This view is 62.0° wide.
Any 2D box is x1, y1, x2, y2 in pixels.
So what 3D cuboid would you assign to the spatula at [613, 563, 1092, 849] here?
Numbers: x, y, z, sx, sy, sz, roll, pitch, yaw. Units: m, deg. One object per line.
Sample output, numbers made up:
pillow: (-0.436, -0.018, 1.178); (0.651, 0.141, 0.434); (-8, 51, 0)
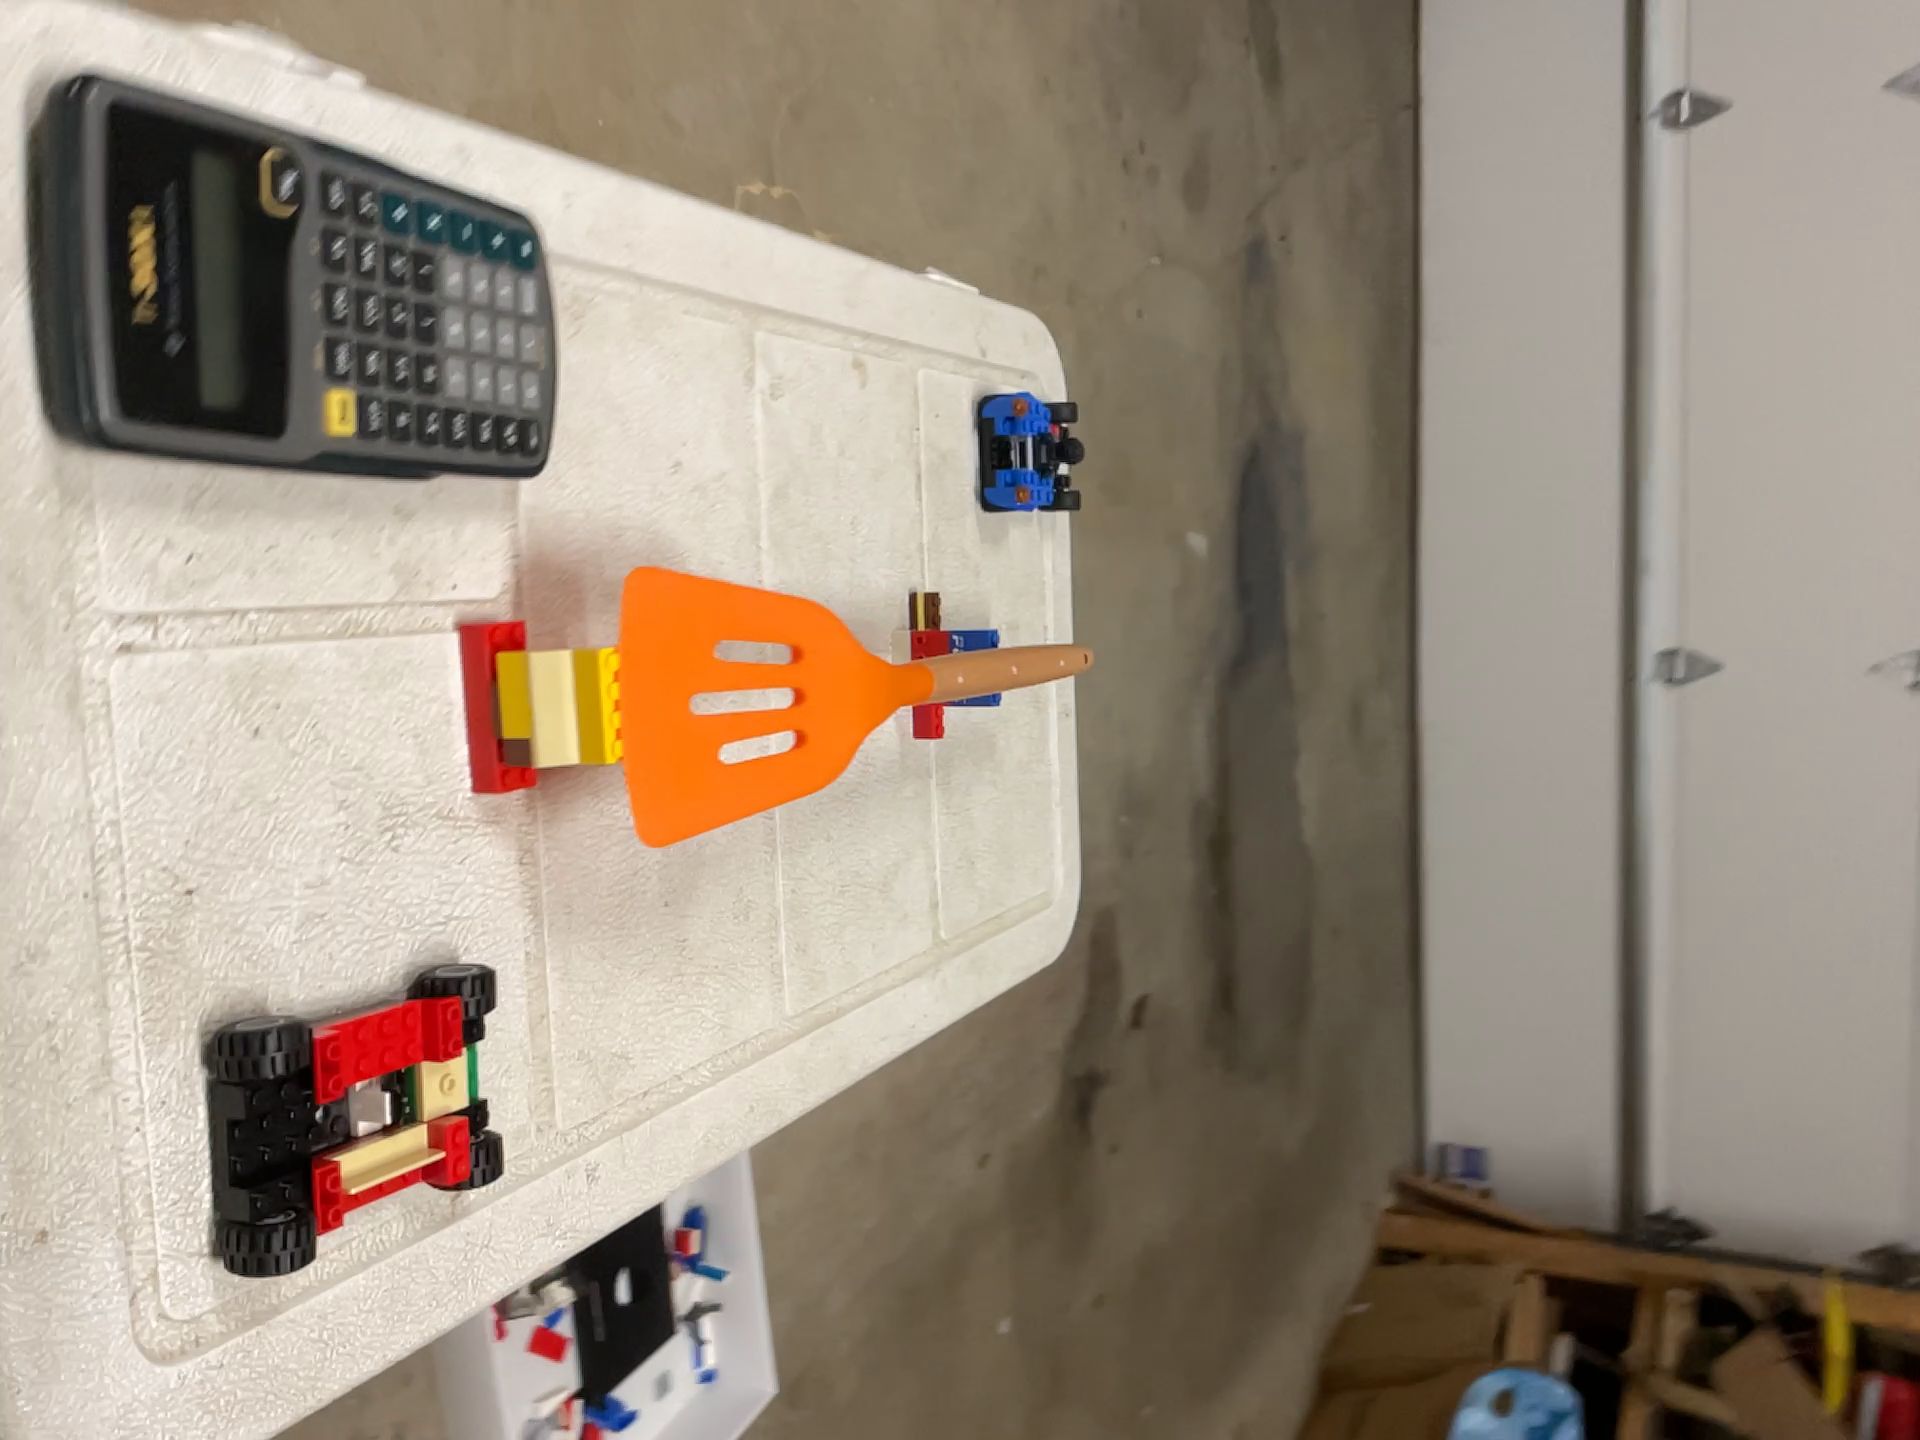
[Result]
spatula: (-0.016, -0.016, 0.584); (0.323, 0.041, 0.081); (-11, 100, -67)
